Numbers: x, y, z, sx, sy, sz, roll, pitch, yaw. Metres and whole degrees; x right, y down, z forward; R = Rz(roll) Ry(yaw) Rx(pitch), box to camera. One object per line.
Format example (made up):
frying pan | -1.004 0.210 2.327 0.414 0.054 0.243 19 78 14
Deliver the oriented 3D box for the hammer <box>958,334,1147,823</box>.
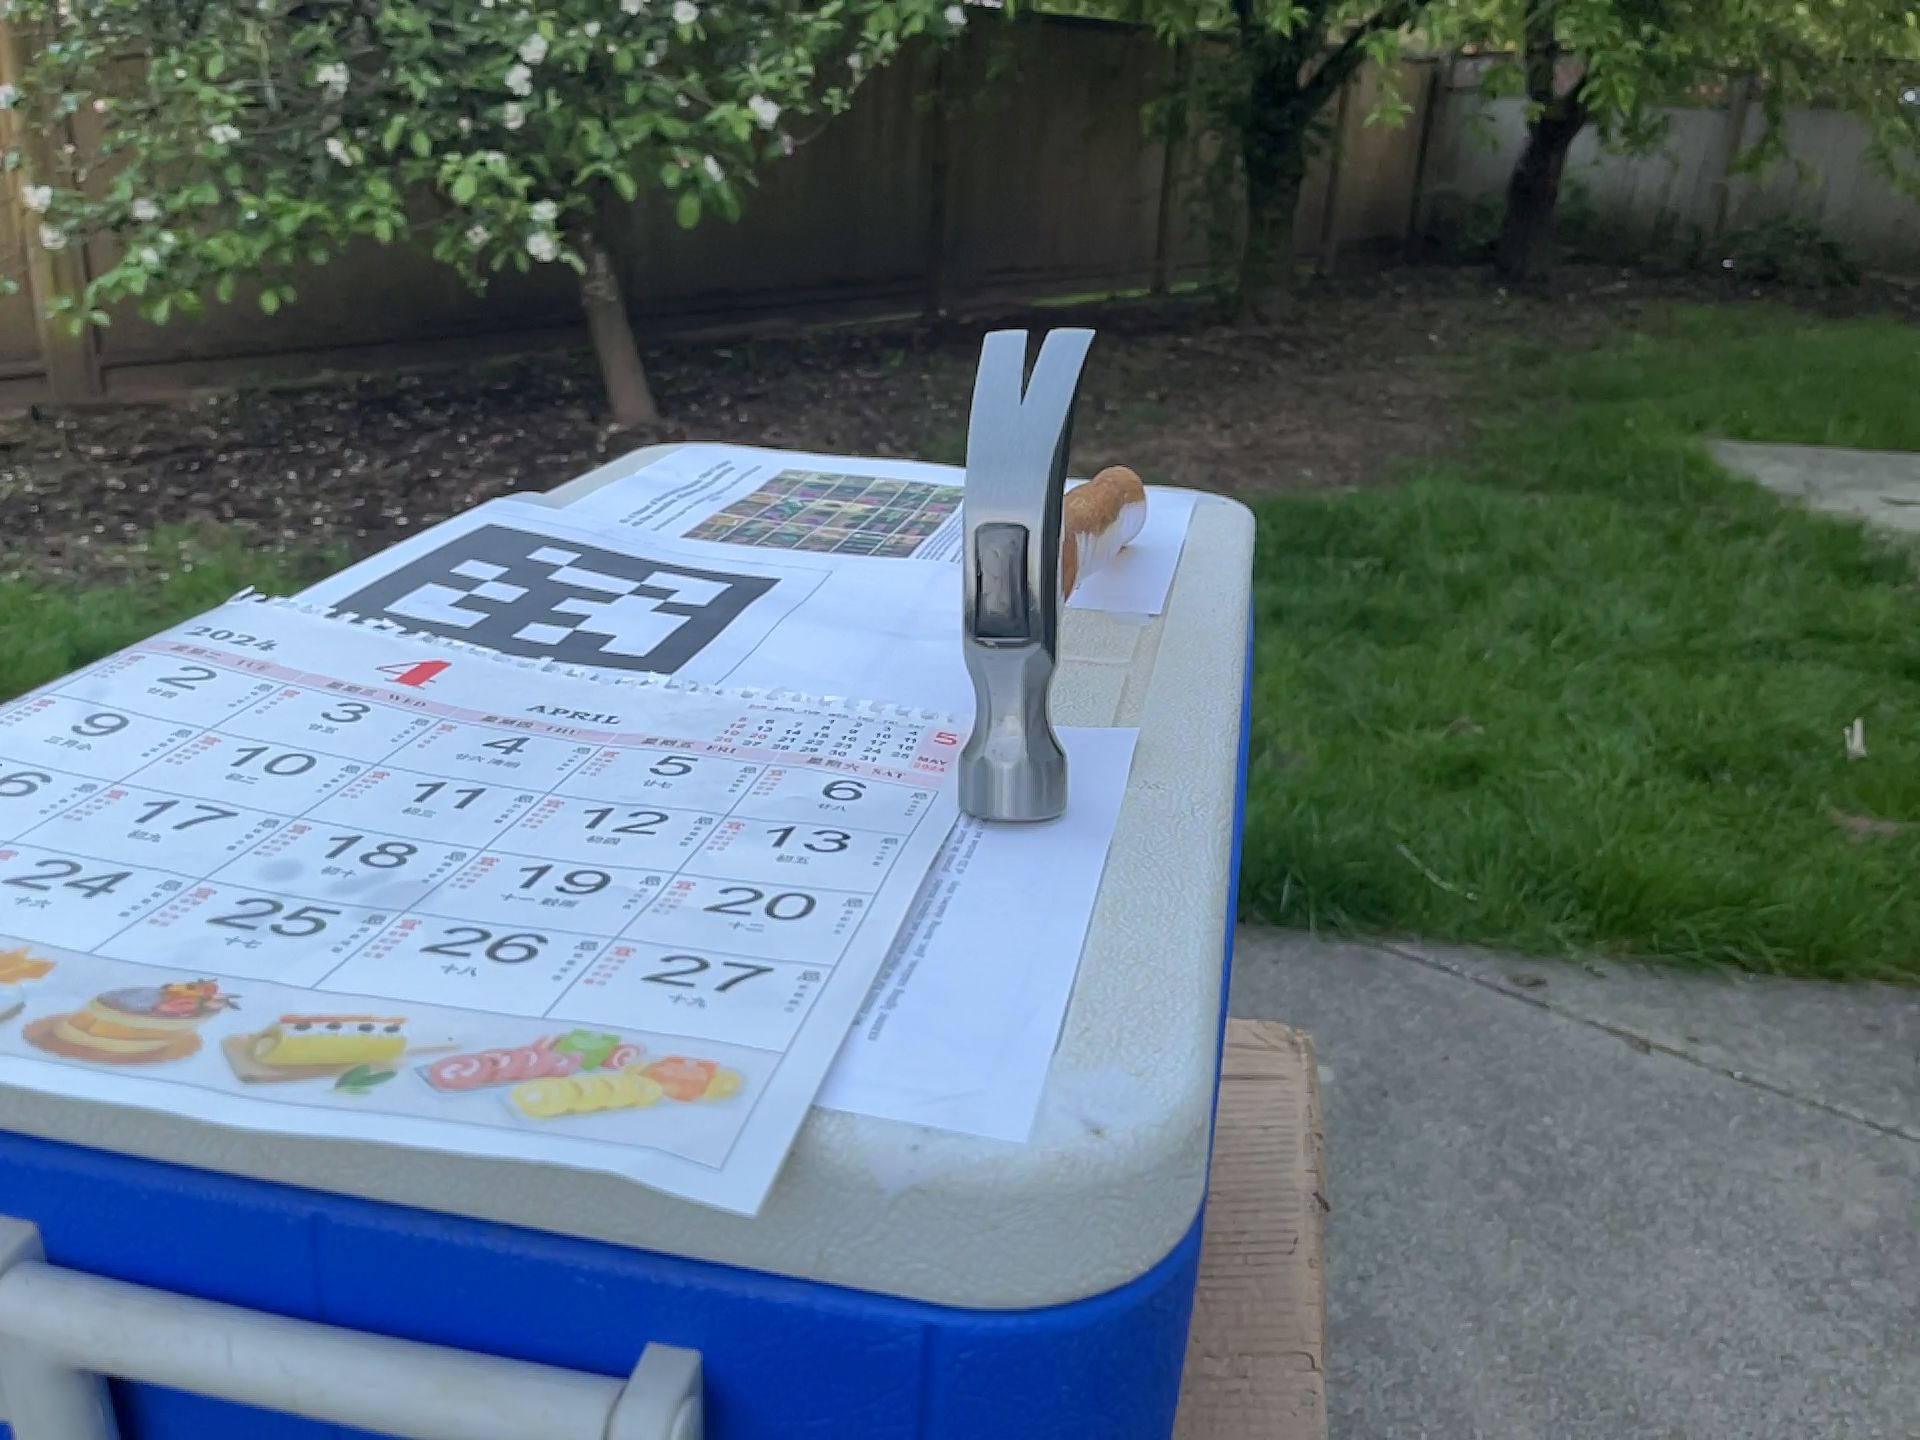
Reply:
hammer | 0.042 -0.068 0.557 0.031 0.130 0.331 2 12 10
